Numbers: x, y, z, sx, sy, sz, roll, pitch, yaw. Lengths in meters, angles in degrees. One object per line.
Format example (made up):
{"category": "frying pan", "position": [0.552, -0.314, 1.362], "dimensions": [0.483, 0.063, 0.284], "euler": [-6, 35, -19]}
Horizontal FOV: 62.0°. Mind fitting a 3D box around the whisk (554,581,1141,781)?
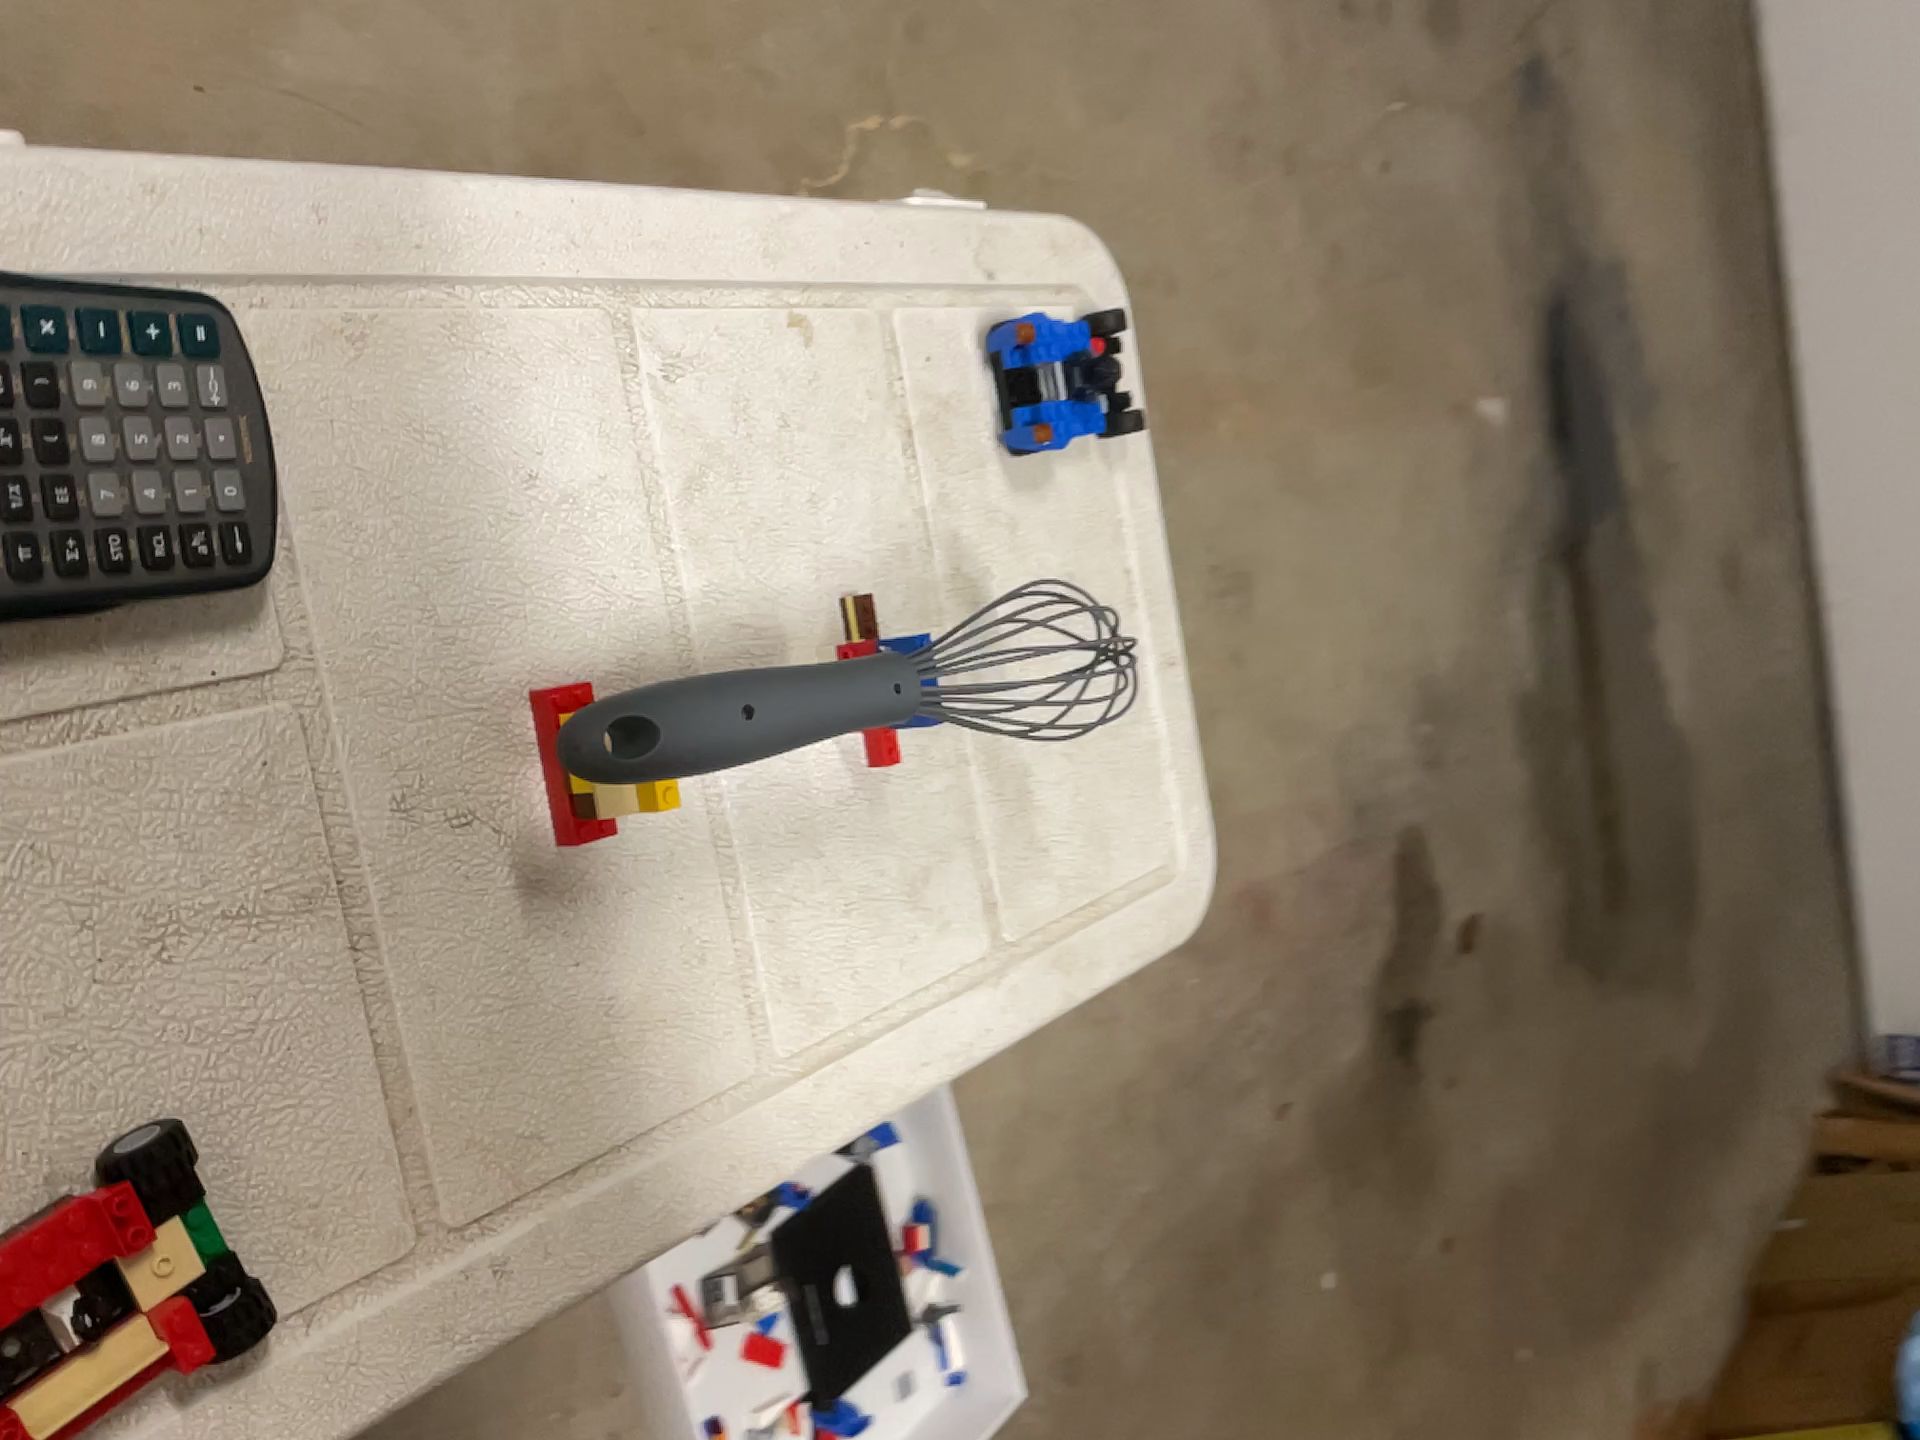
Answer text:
{"category": "whisk", "position": [-0.024, -0.012, 0.507], "dimensions": [0.239, 0.055, 0.055], "euler": [-12, 93, -45]}
